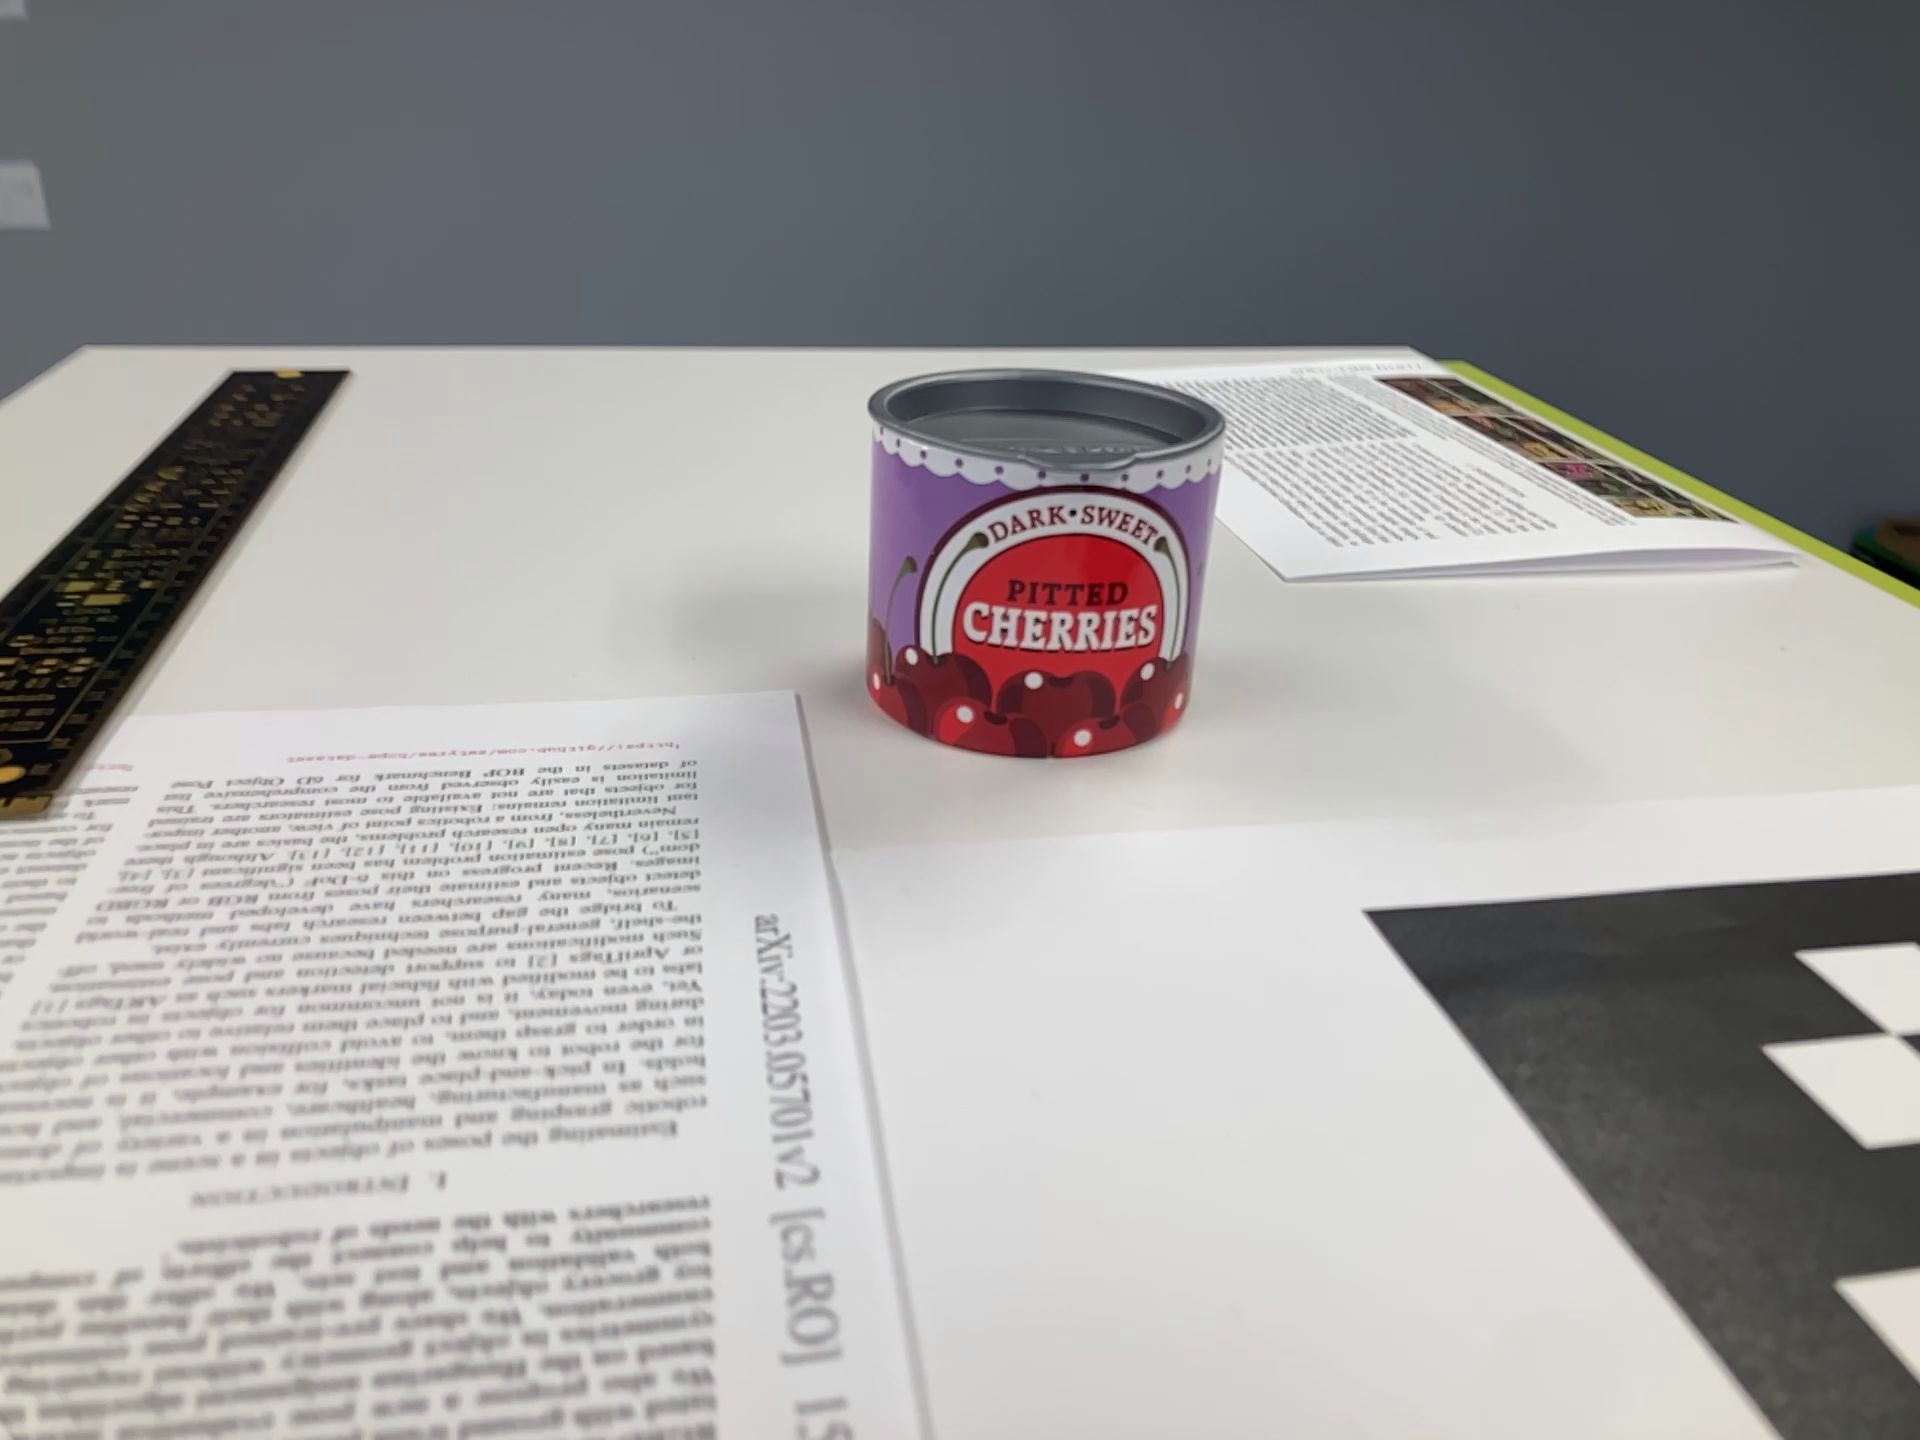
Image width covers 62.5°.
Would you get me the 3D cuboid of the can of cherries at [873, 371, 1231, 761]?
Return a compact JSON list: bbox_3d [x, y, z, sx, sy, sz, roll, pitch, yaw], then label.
[{"bbox_3d":[0.016,-0.031,0.302,0.071,0.058,0.071,2,25,-1],"label":"can of cherries"}]
